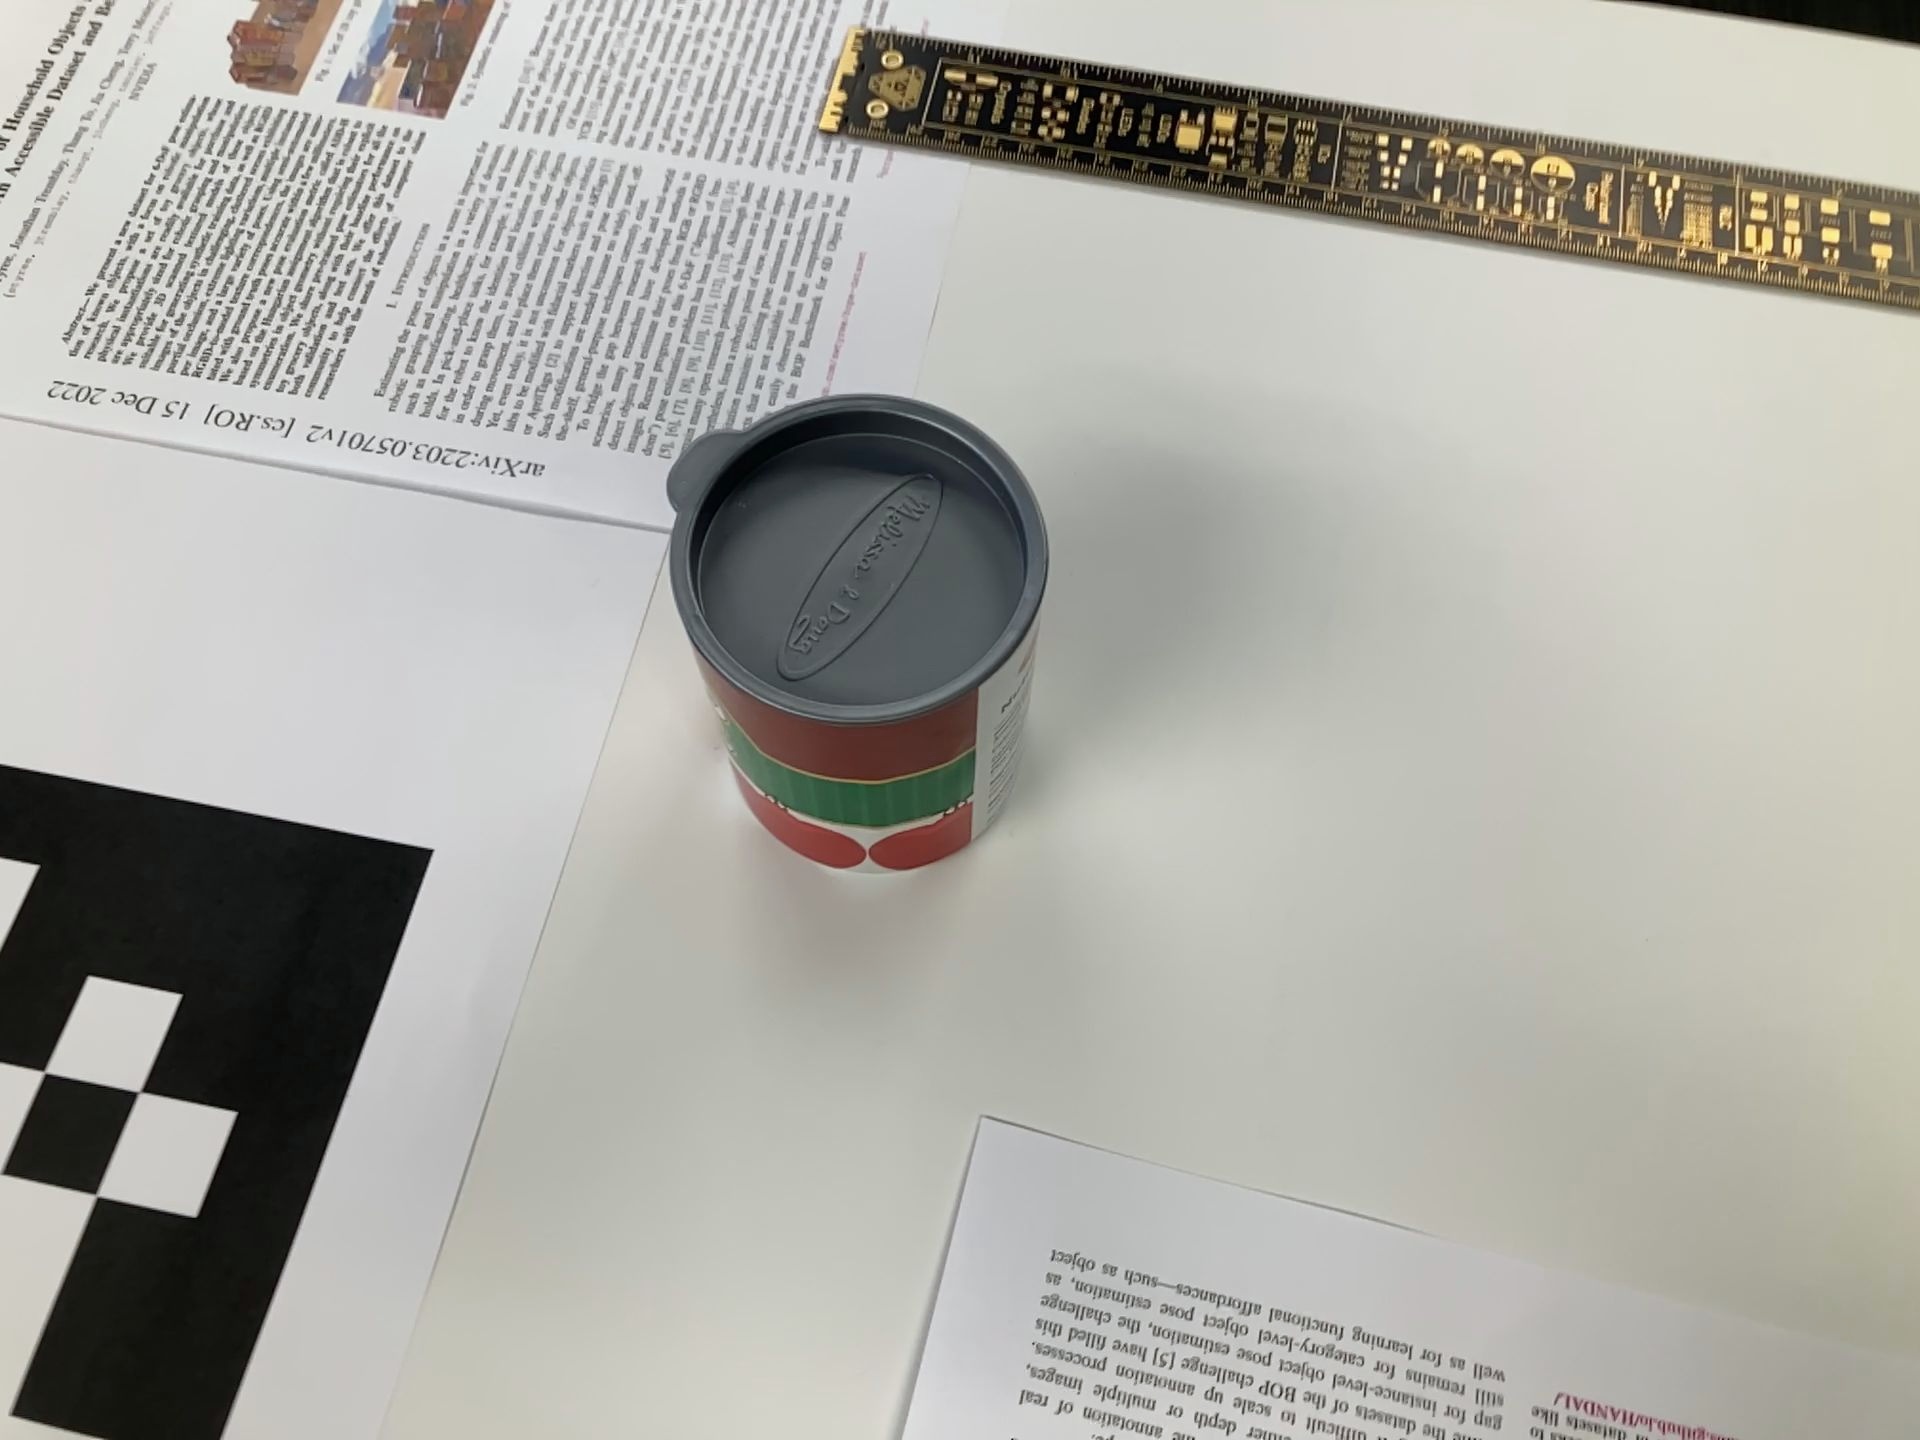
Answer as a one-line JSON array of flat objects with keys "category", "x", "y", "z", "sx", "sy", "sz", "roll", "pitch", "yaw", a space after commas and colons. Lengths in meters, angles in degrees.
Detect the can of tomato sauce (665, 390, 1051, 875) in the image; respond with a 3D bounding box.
[{"category": "can of tomato sauce", "x": -0.020, "y": -0.014, "z": 0.314, "sx": 0.071, "sy": 0.083, "sz": 0.071, "roll": 0, "pitch": 65, "yaw": -1}]
